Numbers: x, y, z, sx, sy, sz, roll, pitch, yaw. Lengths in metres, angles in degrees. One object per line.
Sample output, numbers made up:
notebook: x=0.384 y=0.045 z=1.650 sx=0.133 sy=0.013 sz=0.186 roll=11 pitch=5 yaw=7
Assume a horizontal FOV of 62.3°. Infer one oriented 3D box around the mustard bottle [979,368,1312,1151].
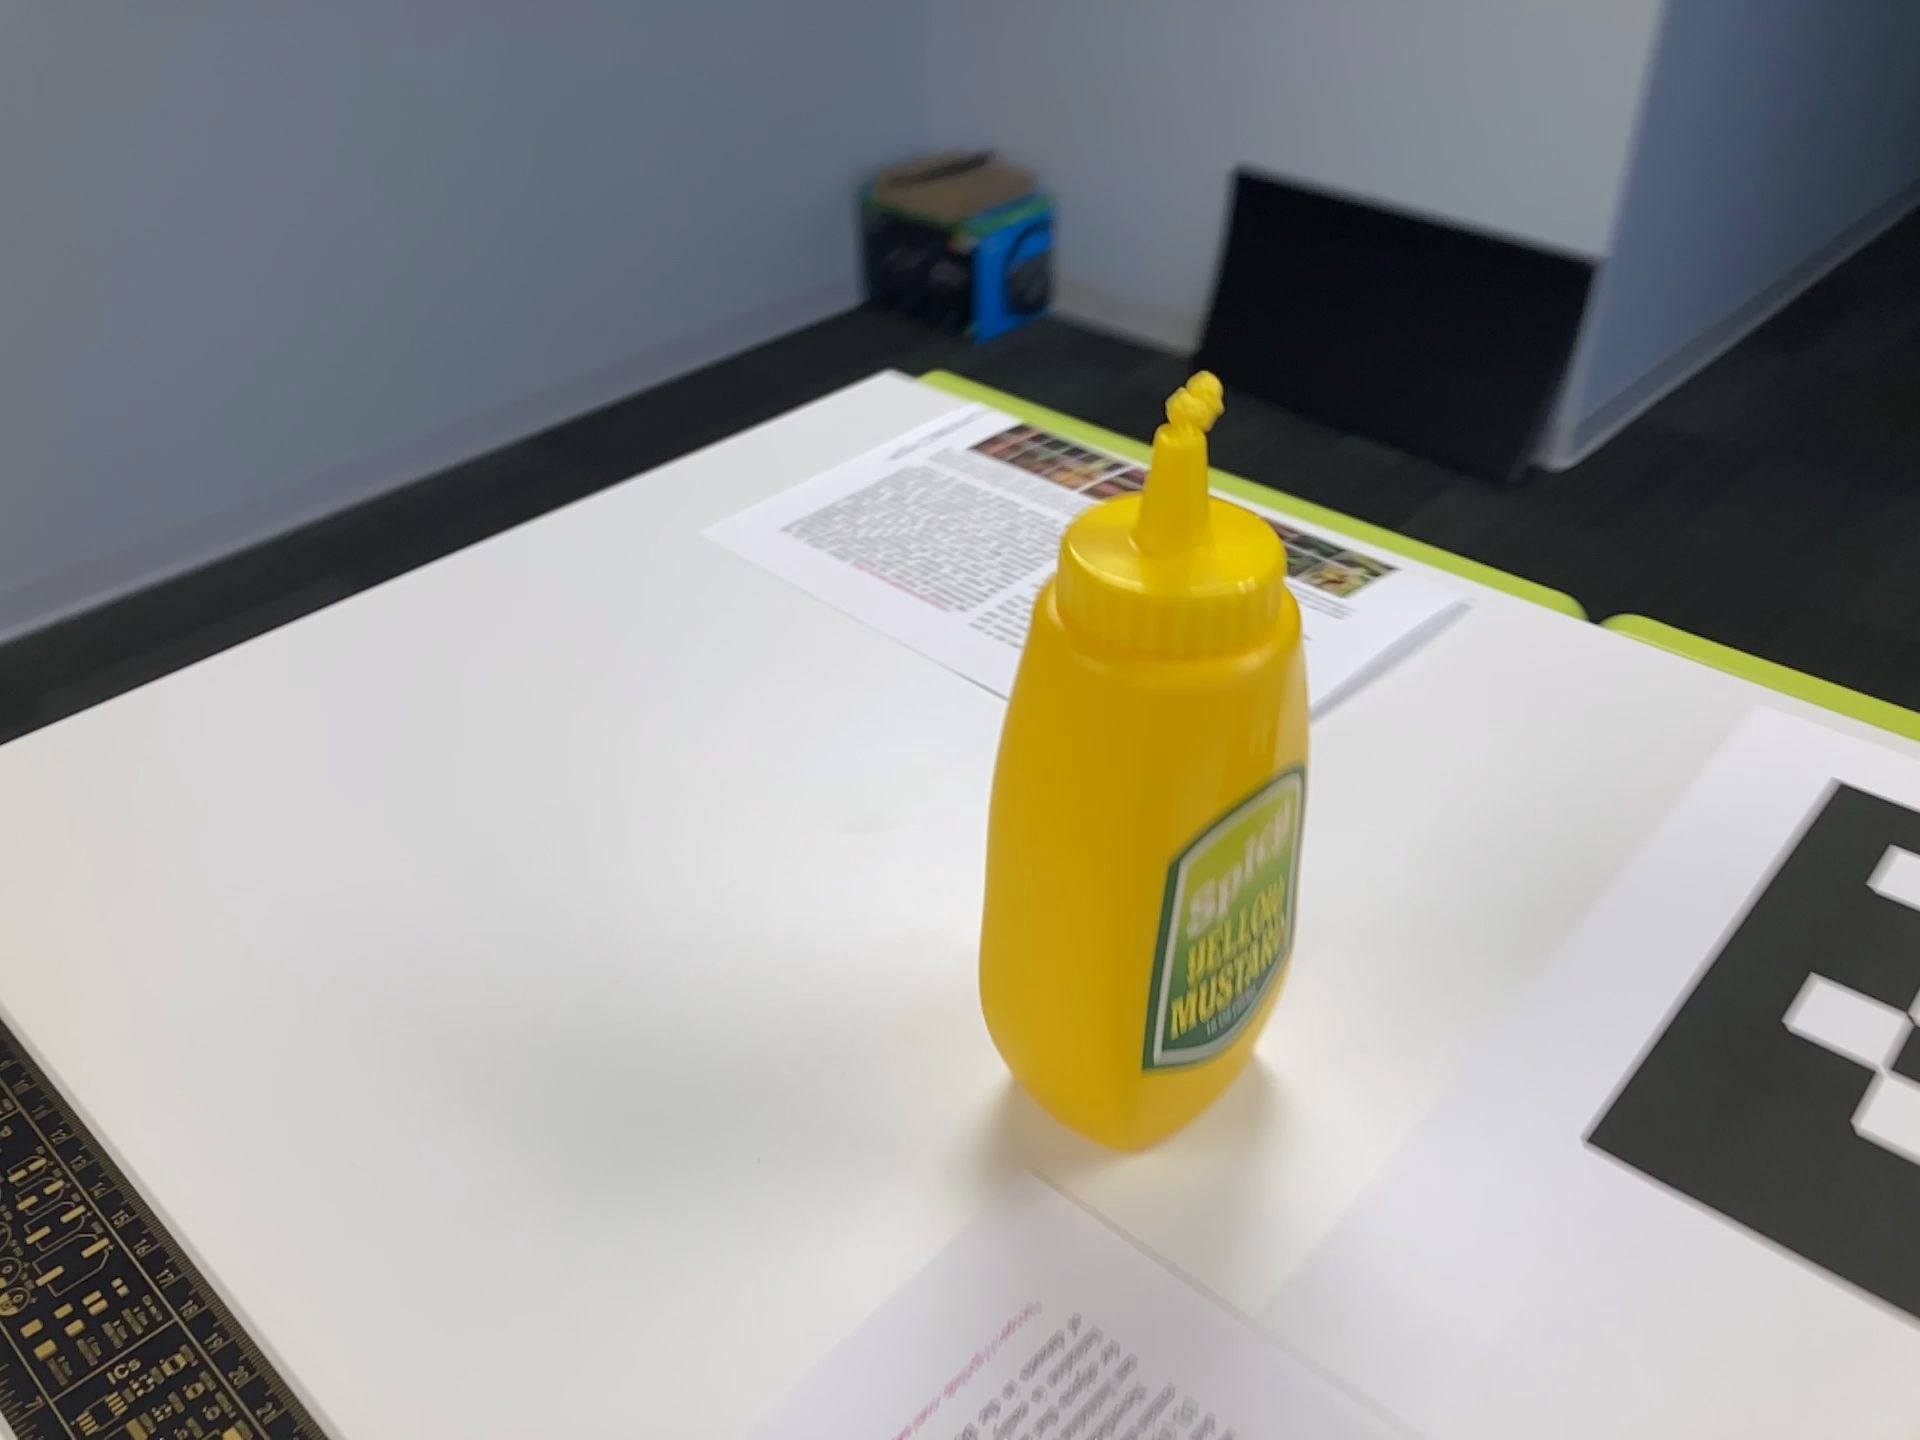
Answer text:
mustard bottle: x=0.037 y=0.011 z=0.302 sx=0.065 sy=0.160 sz=0.049 roll=-30 pitch=45 yaw=-33
